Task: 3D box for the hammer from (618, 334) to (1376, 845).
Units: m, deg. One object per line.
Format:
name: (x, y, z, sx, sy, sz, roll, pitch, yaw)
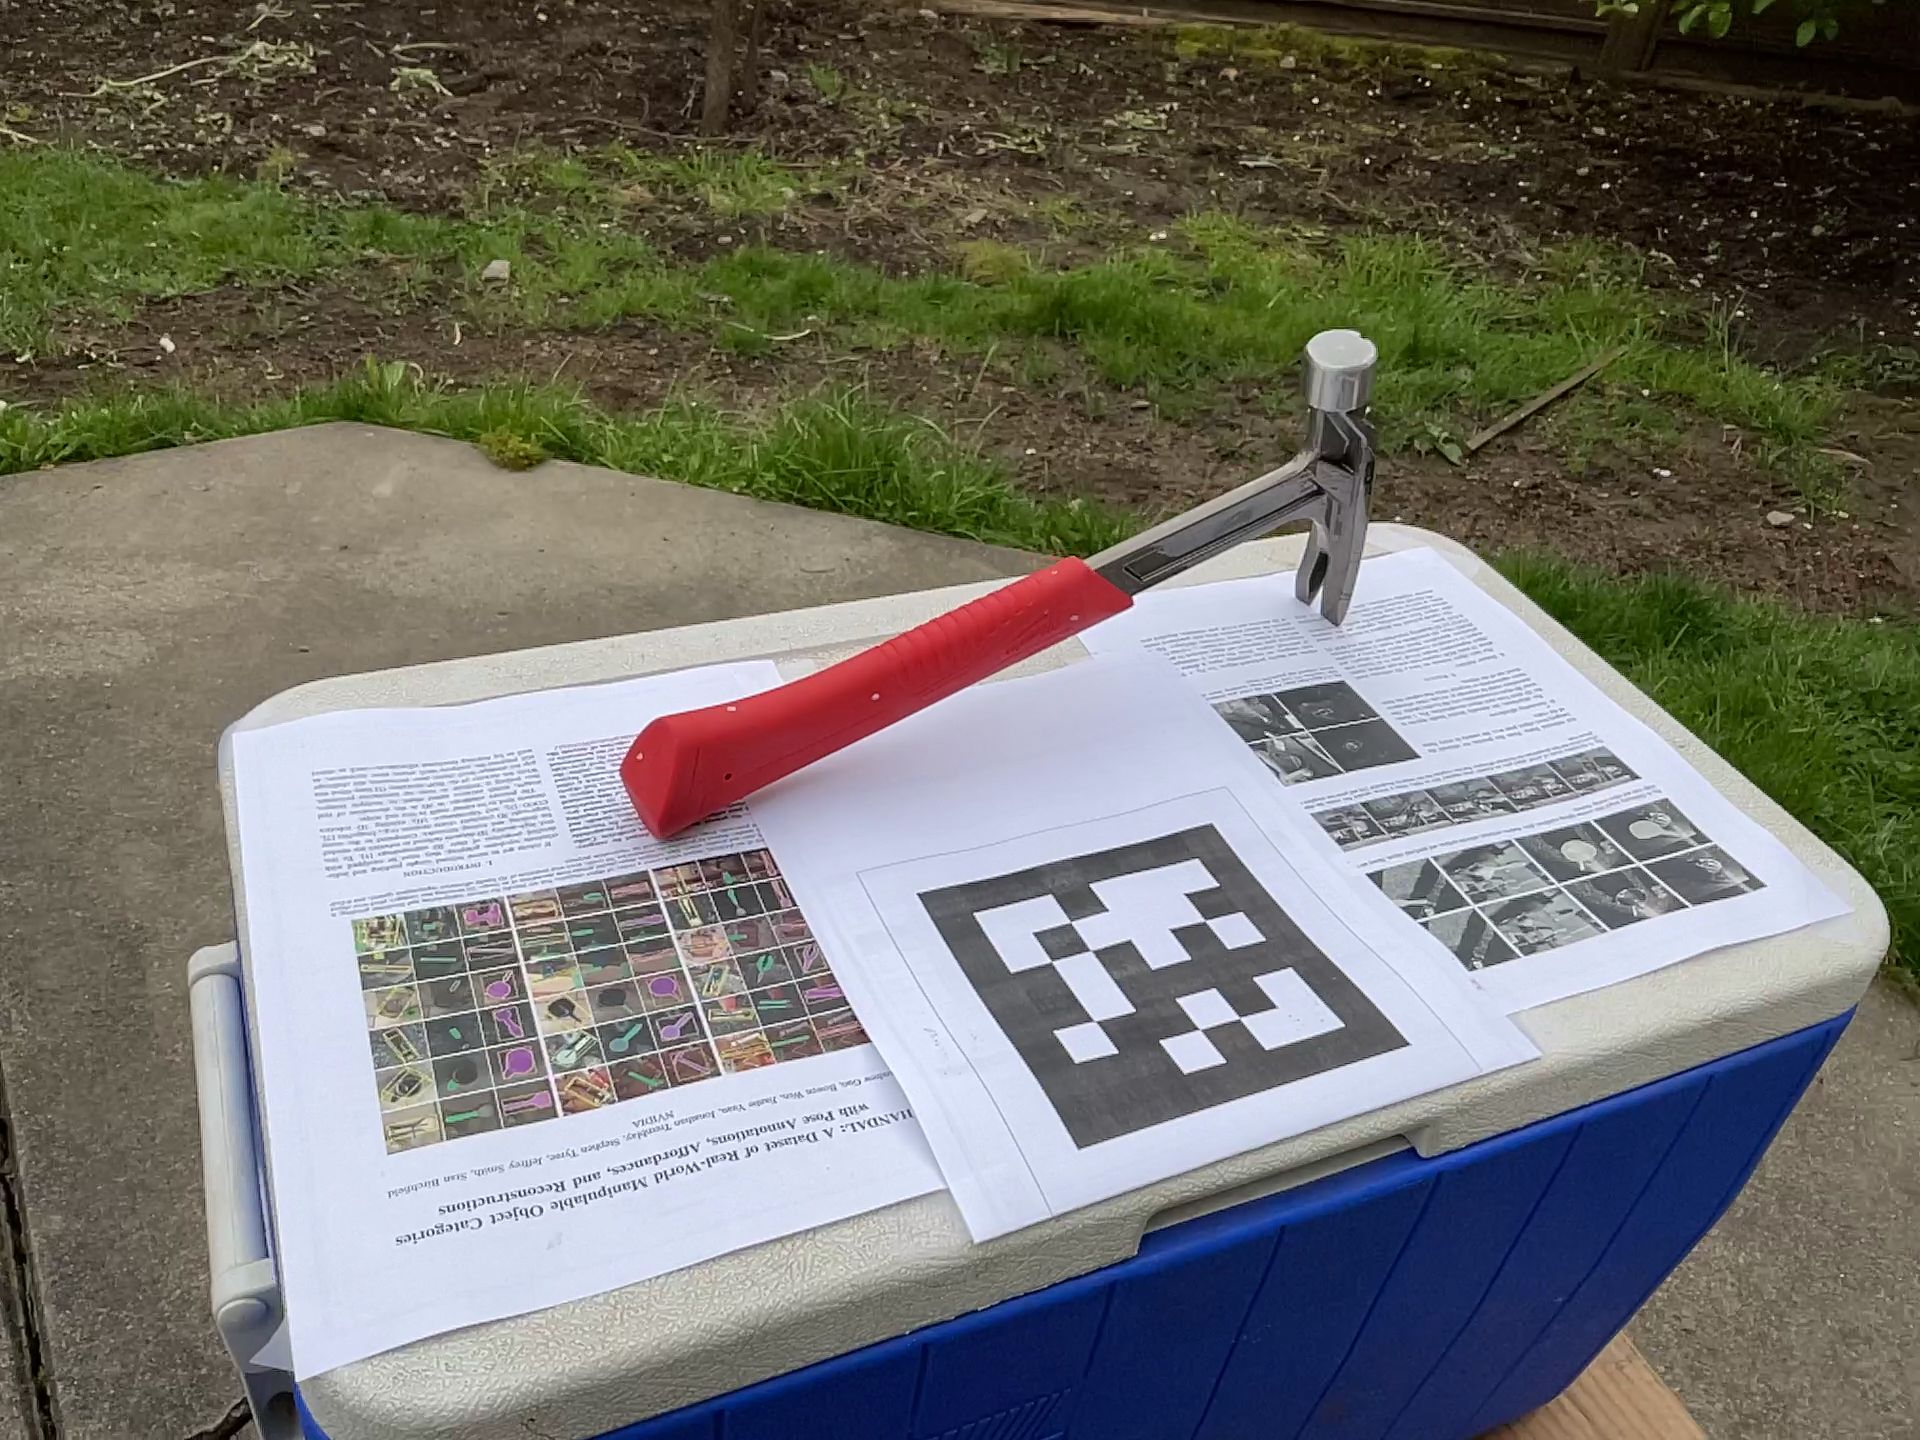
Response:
hammer: (0.030, -0.036, 0.667, 0.359, 0.149, 0.037, -27, 48, -21)
